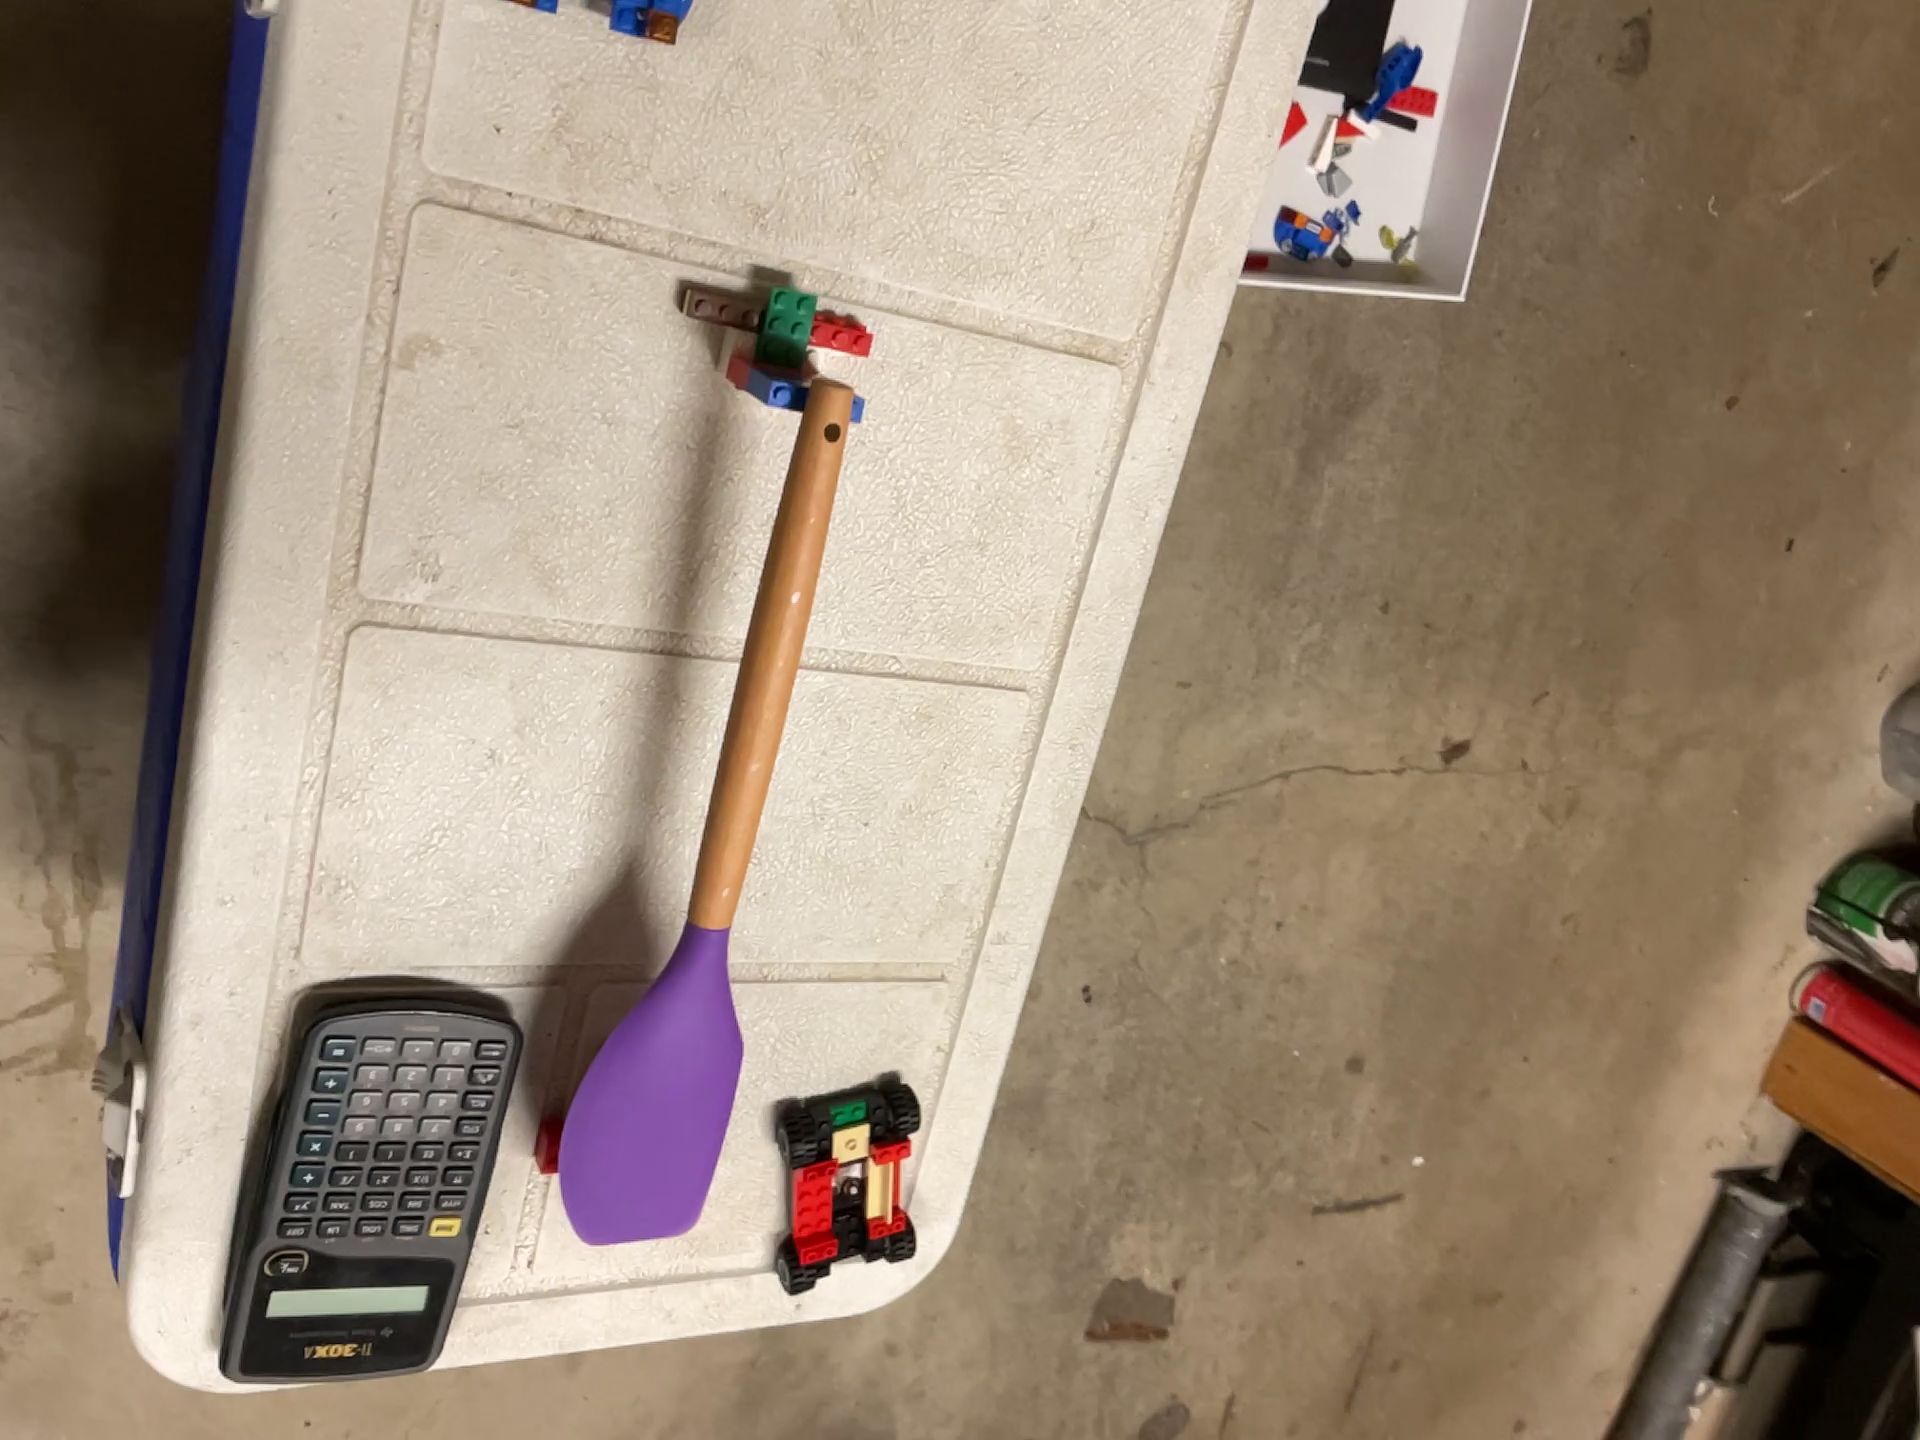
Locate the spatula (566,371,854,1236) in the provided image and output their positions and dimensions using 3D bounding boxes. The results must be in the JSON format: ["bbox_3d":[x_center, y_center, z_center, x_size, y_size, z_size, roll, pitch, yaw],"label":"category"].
[{"bbox_3d":[-0.079,0.041,0.527,0.060,0.018,0.315,5,111,-32],"label":"spatula"}]
